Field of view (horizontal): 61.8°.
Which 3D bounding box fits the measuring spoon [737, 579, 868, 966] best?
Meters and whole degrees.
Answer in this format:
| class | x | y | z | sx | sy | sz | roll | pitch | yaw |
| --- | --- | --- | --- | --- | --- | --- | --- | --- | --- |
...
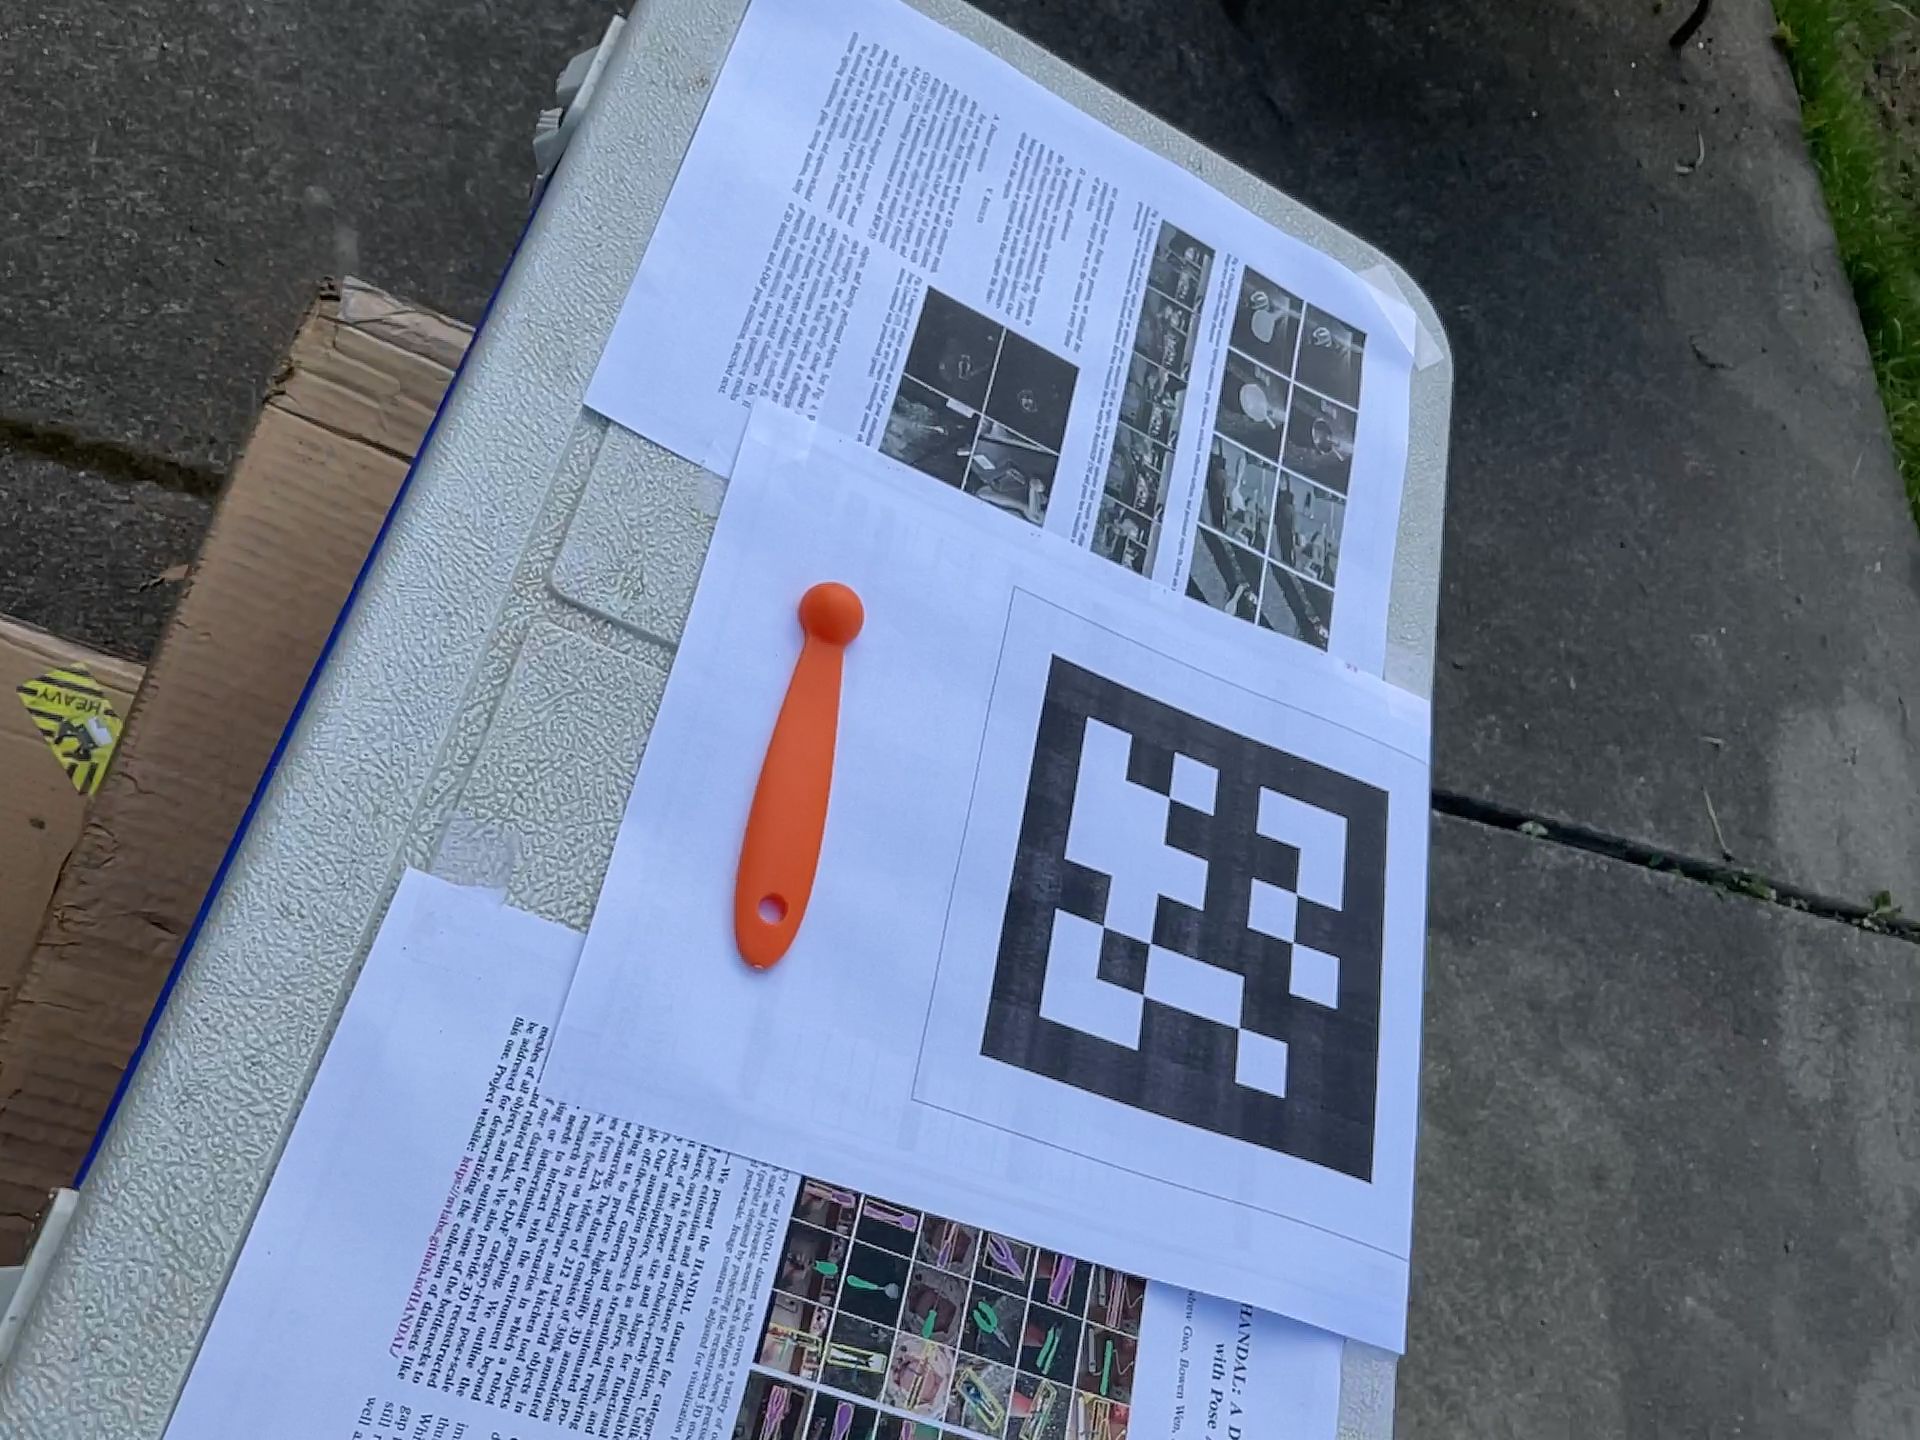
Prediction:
| class | x | y | z | sx | sy | sz | roll | pitch | yaw |
| --- | --- | --- | --- | --- | --- | --- | --- | --- | --- |
| measuring spoon | -0.042 | 0.010 | 0.437 | 0.021 | 0.011 | 0.117 | 18 | 62 | -16 |
